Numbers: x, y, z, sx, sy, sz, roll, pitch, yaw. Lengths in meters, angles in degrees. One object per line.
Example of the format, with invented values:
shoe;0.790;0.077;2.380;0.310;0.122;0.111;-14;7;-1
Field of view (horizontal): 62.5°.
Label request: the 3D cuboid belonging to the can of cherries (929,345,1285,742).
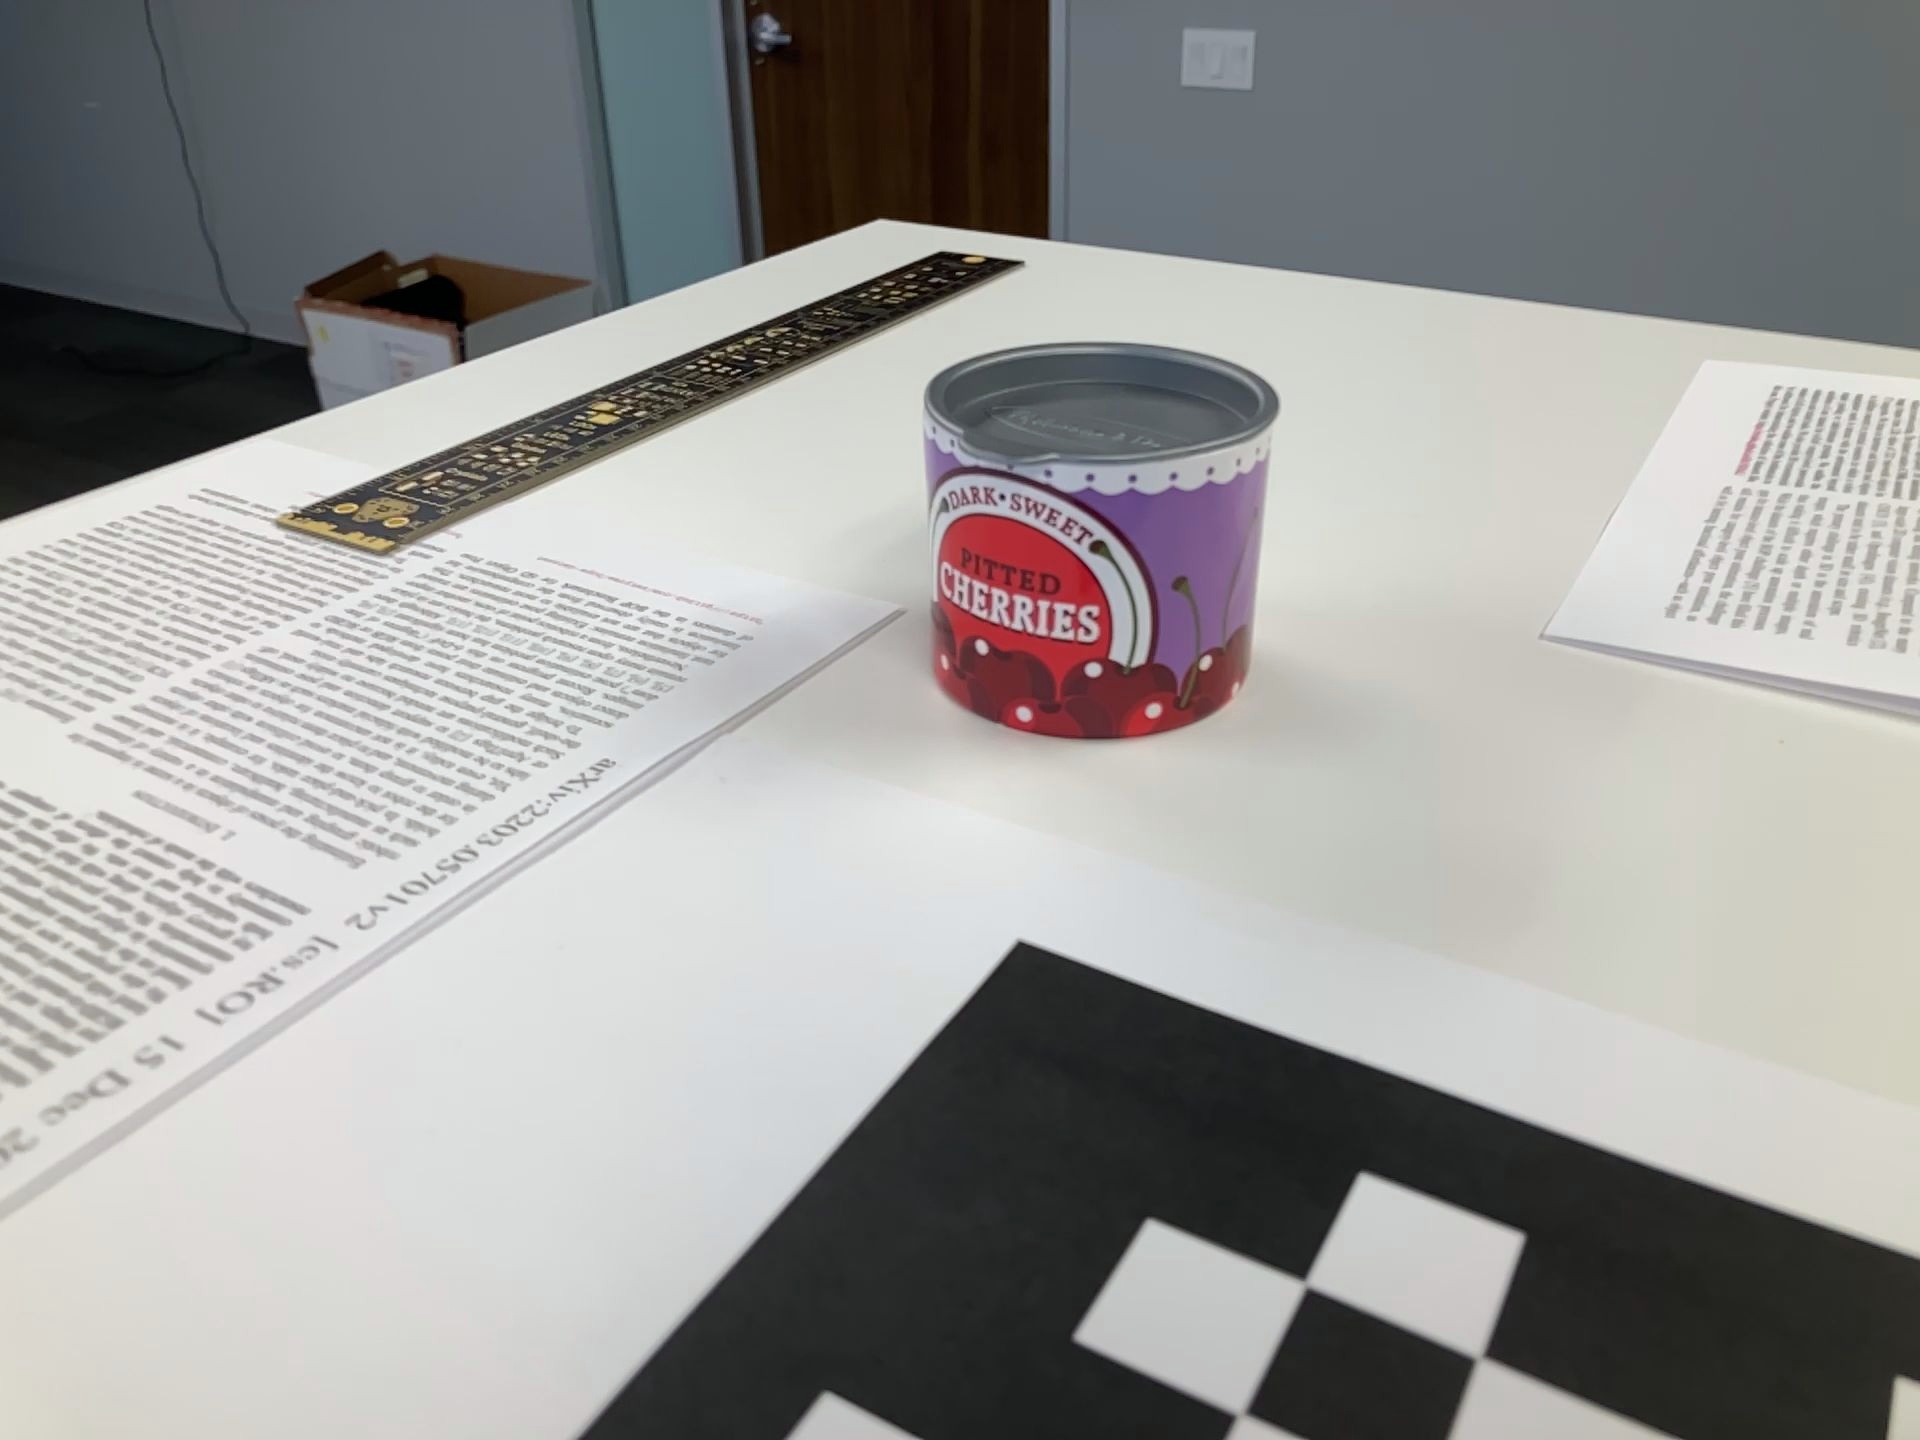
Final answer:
can of cherries;0.025;-0.035;0.307;0.071;0.058;0.071;0;30;0
